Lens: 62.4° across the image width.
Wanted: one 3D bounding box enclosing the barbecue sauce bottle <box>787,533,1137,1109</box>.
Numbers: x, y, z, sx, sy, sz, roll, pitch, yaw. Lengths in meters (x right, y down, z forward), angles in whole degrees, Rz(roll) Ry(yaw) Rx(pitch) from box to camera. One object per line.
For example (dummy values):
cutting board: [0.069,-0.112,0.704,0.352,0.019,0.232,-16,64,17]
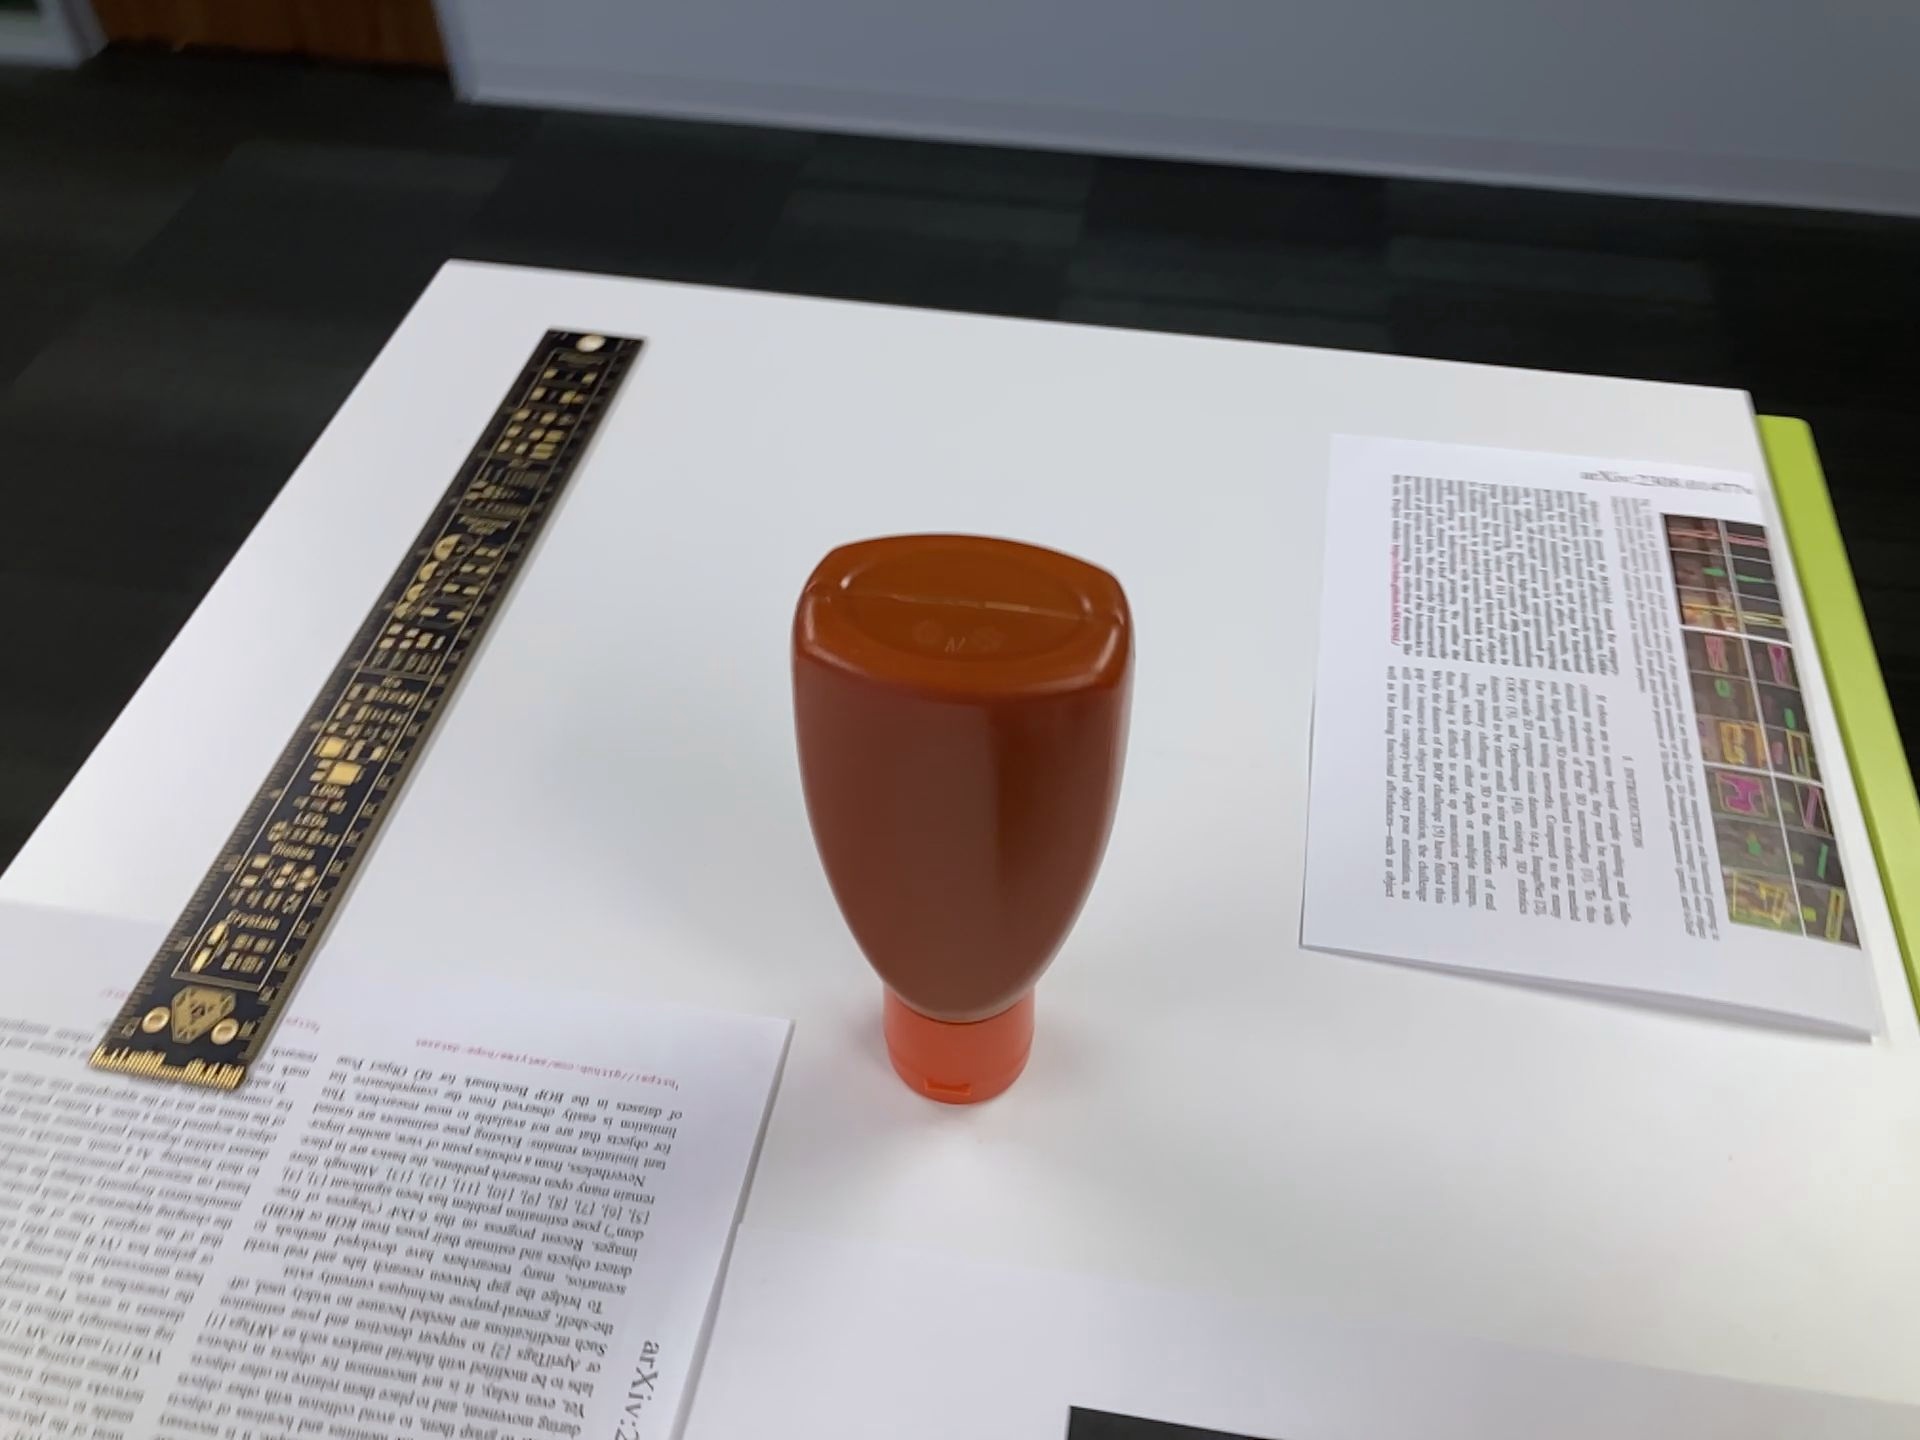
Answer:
barbecue sauce bottle: [0.000,0.030,0.335,0.065,0.148,0.043,6,47,5]
